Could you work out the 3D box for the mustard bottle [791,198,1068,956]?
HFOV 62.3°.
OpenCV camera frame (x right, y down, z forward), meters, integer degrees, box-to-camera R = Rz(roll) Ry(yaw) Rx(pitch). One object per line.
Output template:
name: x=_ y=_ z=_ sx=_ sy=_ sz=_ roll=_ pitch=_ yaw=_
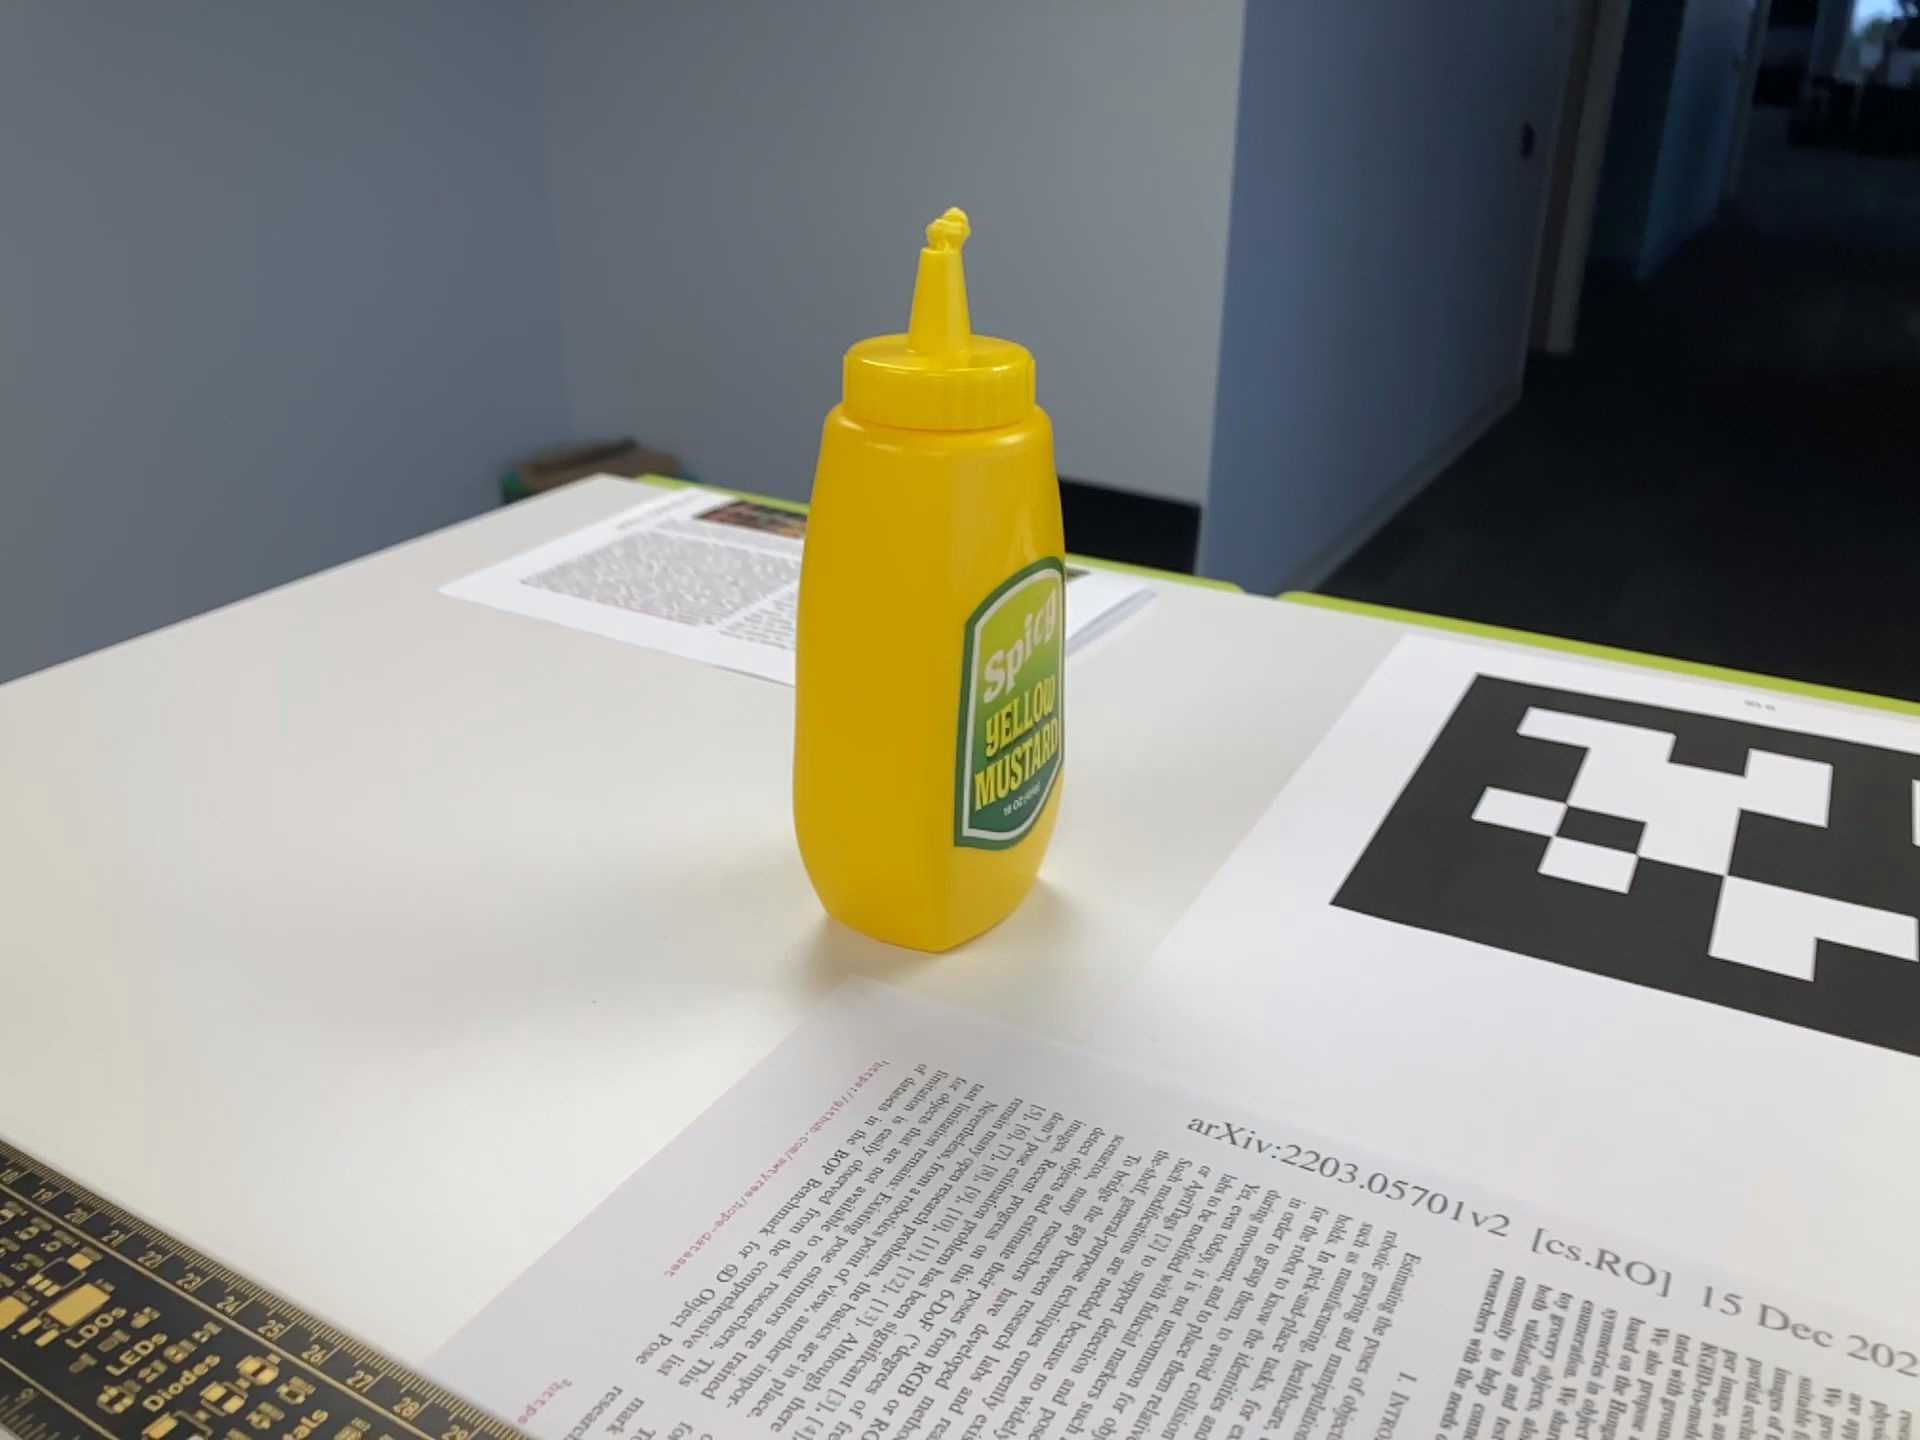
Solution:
mustard bottle: x=-0.005 y=-0.029 z=0.344 sx=0.049 sy=0.160 sz=0.065 roll=17 pitch=30 yaw=29
